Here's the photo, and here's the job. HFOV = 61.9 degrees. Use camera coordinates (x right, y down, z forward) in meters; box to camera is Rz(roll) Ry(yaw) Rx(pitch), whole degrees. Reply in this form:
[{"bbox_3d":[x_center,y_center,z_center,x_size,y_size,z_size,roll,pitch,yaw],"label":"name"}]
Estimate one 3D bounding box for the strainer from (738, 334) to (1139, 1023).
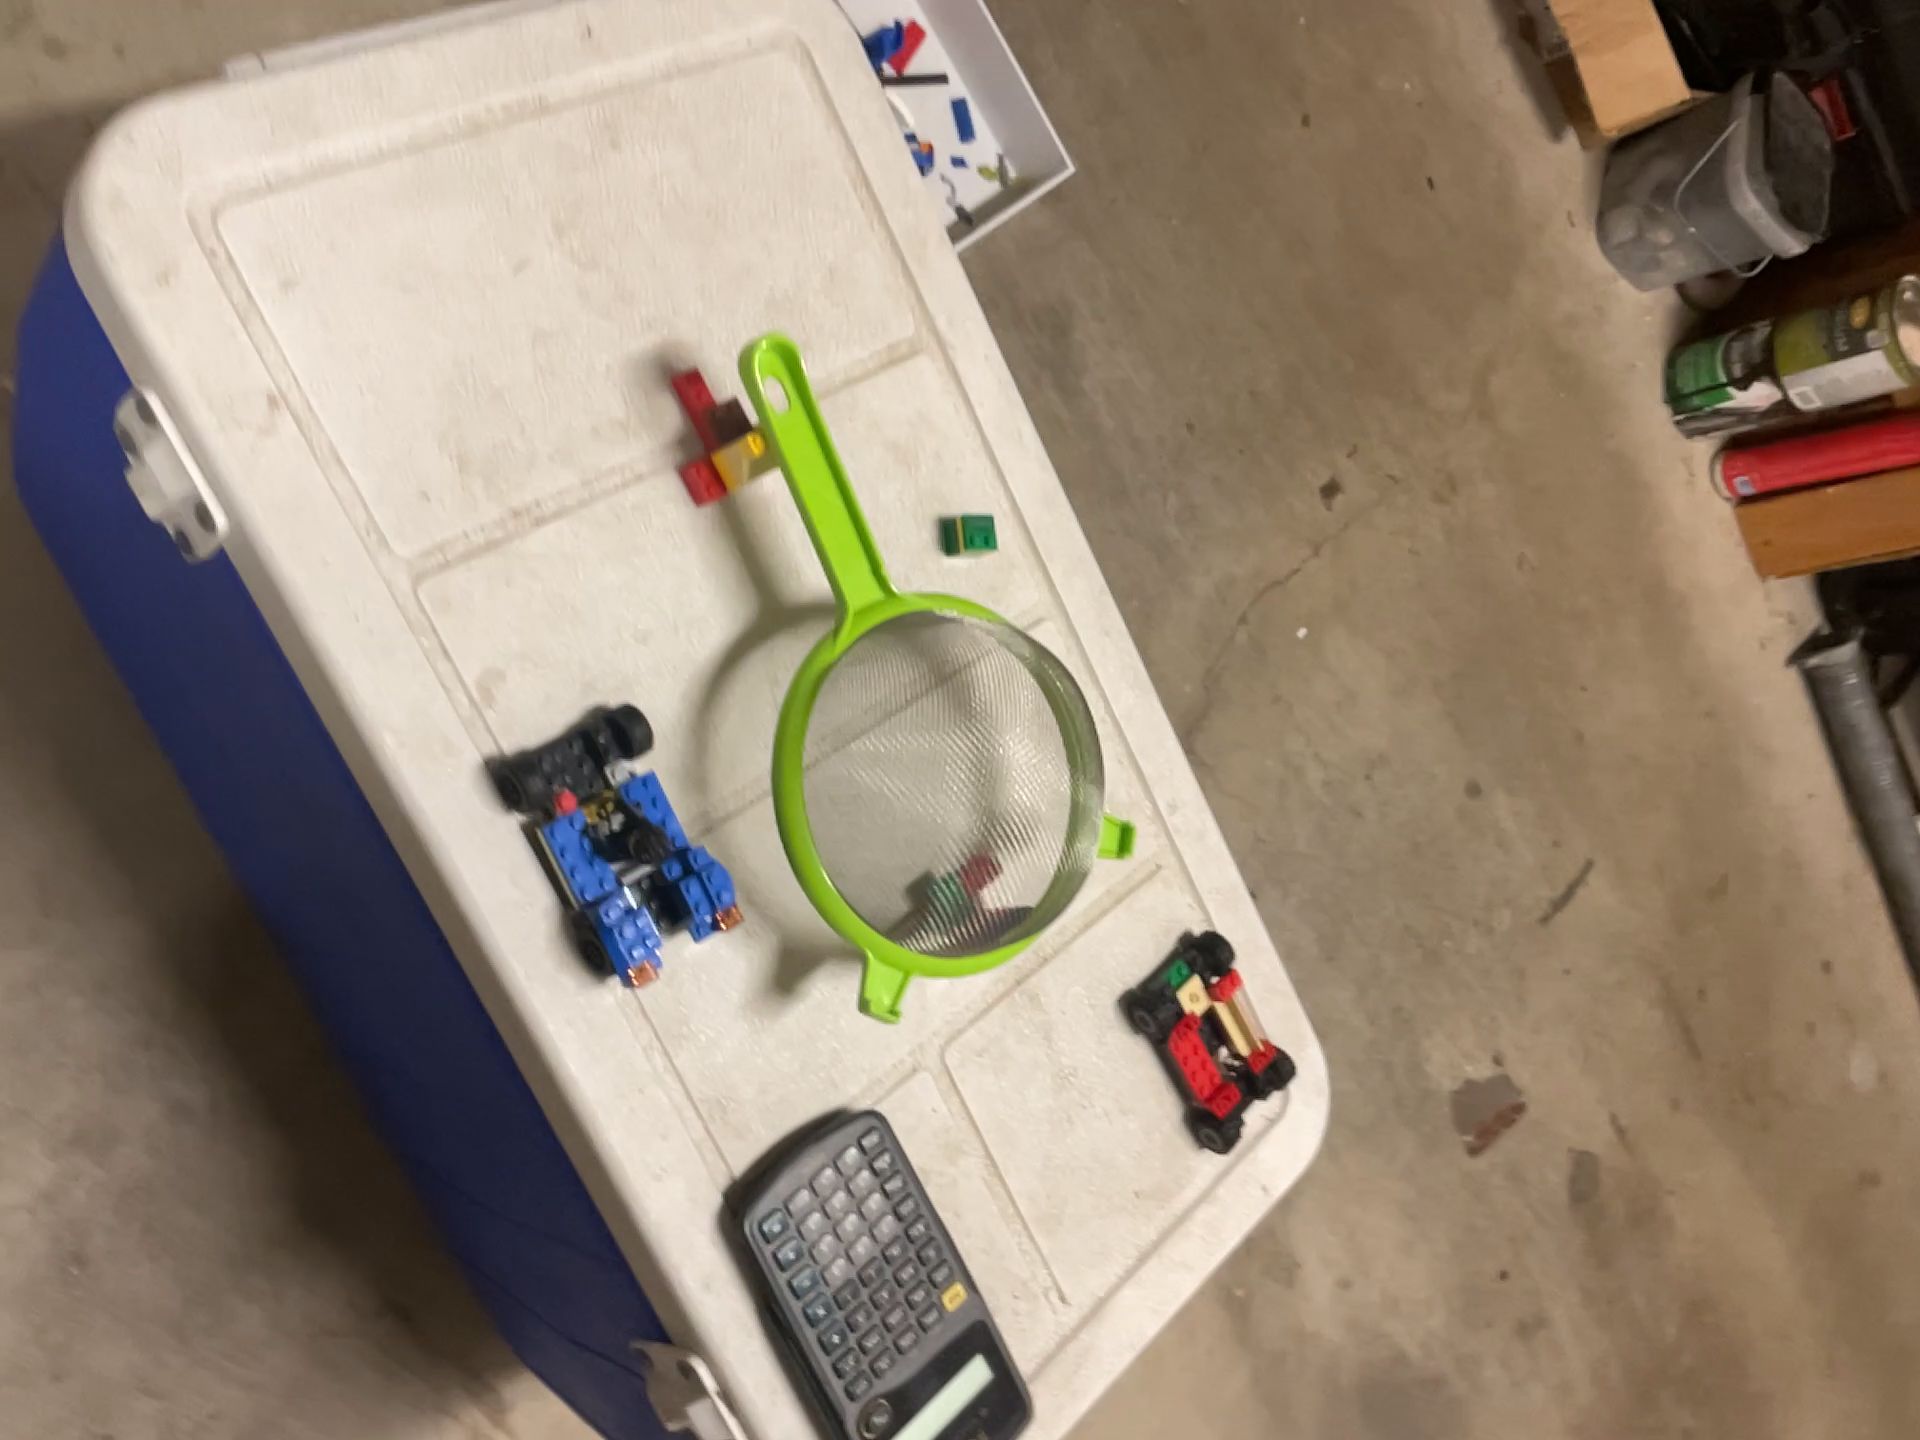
[{"bbox_3d":[-0.012,-0.027,0.593,0.151,0.069,0.256,-29,102,-35],"label":"strainer"}]
